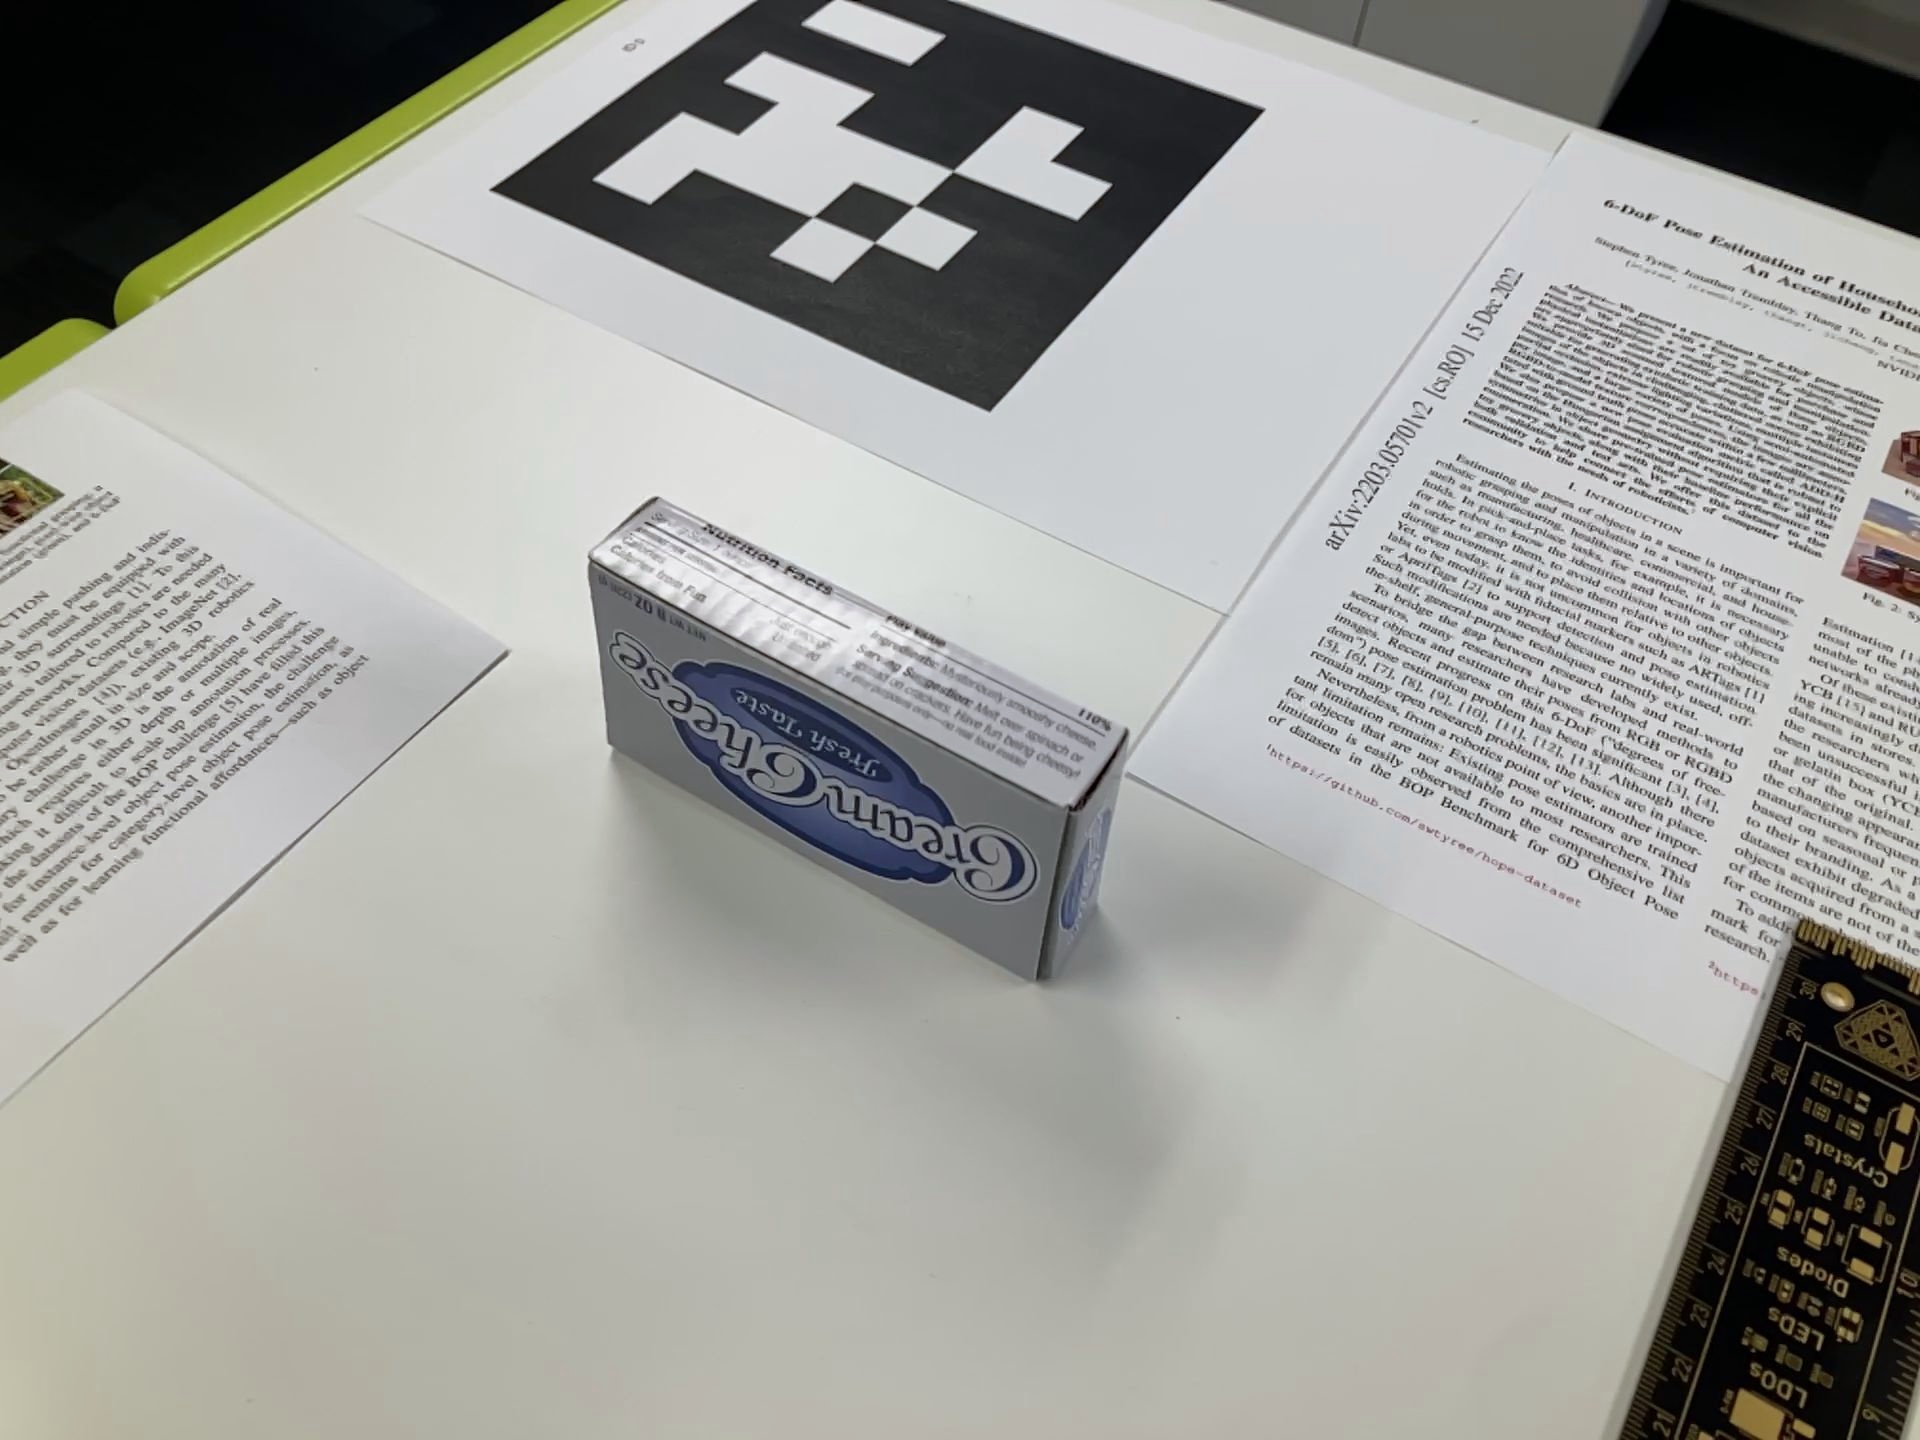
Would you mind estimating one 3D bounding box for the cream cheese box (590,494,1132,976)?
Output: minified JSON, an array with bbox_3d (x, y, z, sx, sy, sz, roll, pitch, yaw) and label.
[{"bbox_3d":[-0.021,0.003,0.294,0.104,0.053,0.024,27,53,17],"label":"cream cheese box"}]
